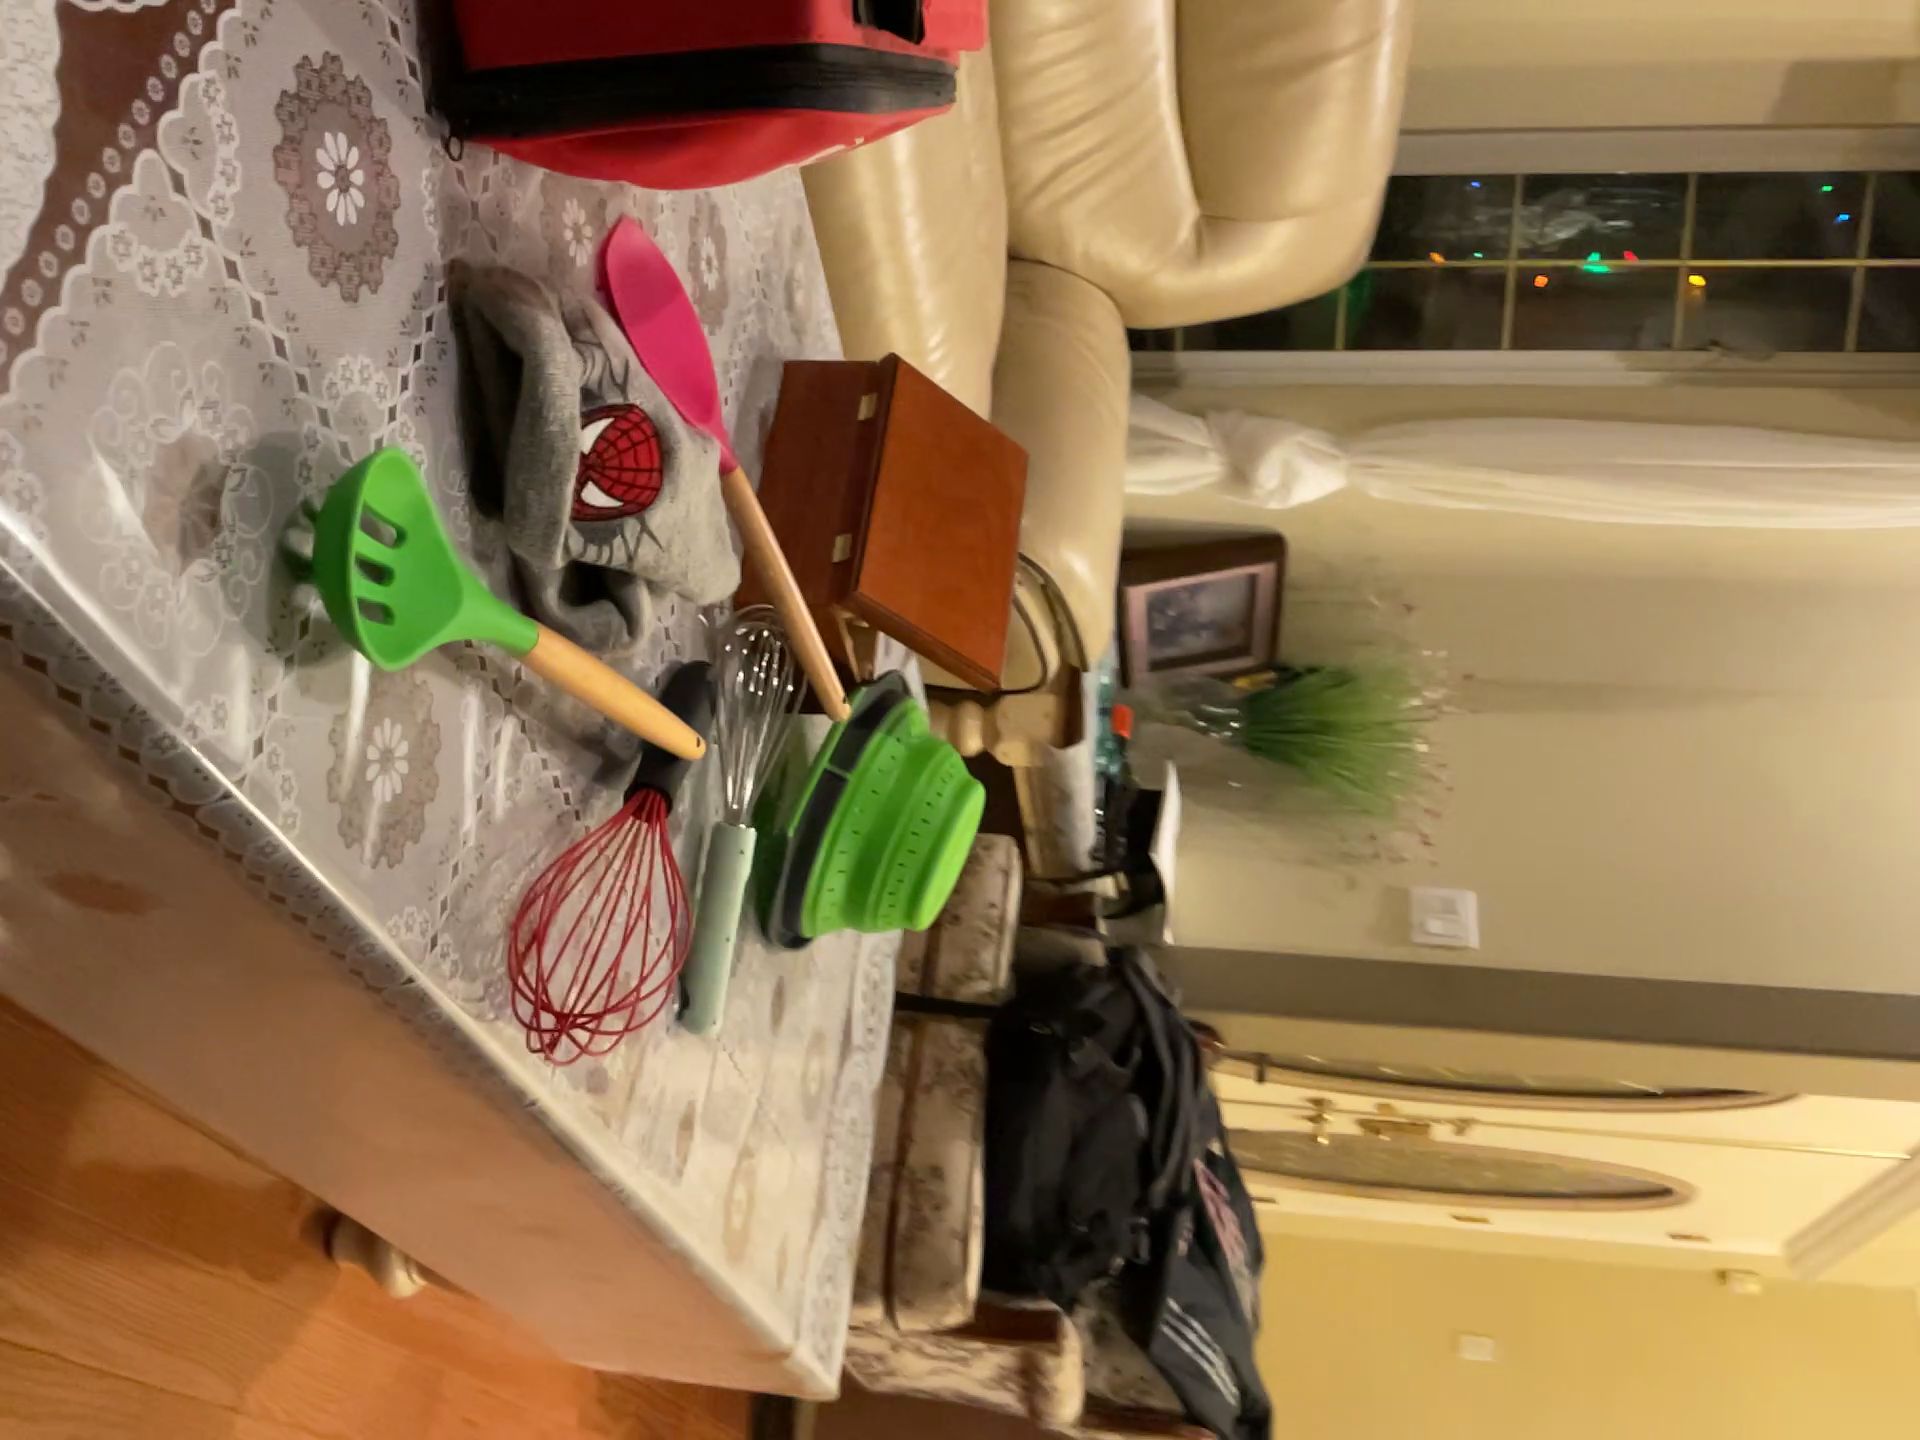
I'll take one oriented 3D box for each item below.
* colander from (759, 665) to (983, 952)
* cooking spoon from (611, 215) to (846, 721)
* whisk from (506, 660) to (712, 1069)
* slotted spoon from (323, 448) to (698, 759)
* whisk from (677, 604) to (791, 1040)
[{"bbox_3d":[-0.046,0.102,1.133,0.396,0.094,0.205,89,25,-70],"label":"colander"},{"bbox_3d":[-0.114,-0.112,0.829,0.069,0.017,0.318,-78,156,-43],"label":"cooking spoon"},{"bbox_3d":[-0.146,0.048,0.726,0.296,0.073,0.073,-86,168,-60],"label":"whisk"},{"bbox_3d":[-0.160,-0.023,0.618,0.313,0.031,0.070,53,40,-73],"label":"slotted spoon"},{"bbox_3d":[-0.131,0.054,0.889,0.057,0.059,0.246,16,74,-38],"label":"whisk"}]
